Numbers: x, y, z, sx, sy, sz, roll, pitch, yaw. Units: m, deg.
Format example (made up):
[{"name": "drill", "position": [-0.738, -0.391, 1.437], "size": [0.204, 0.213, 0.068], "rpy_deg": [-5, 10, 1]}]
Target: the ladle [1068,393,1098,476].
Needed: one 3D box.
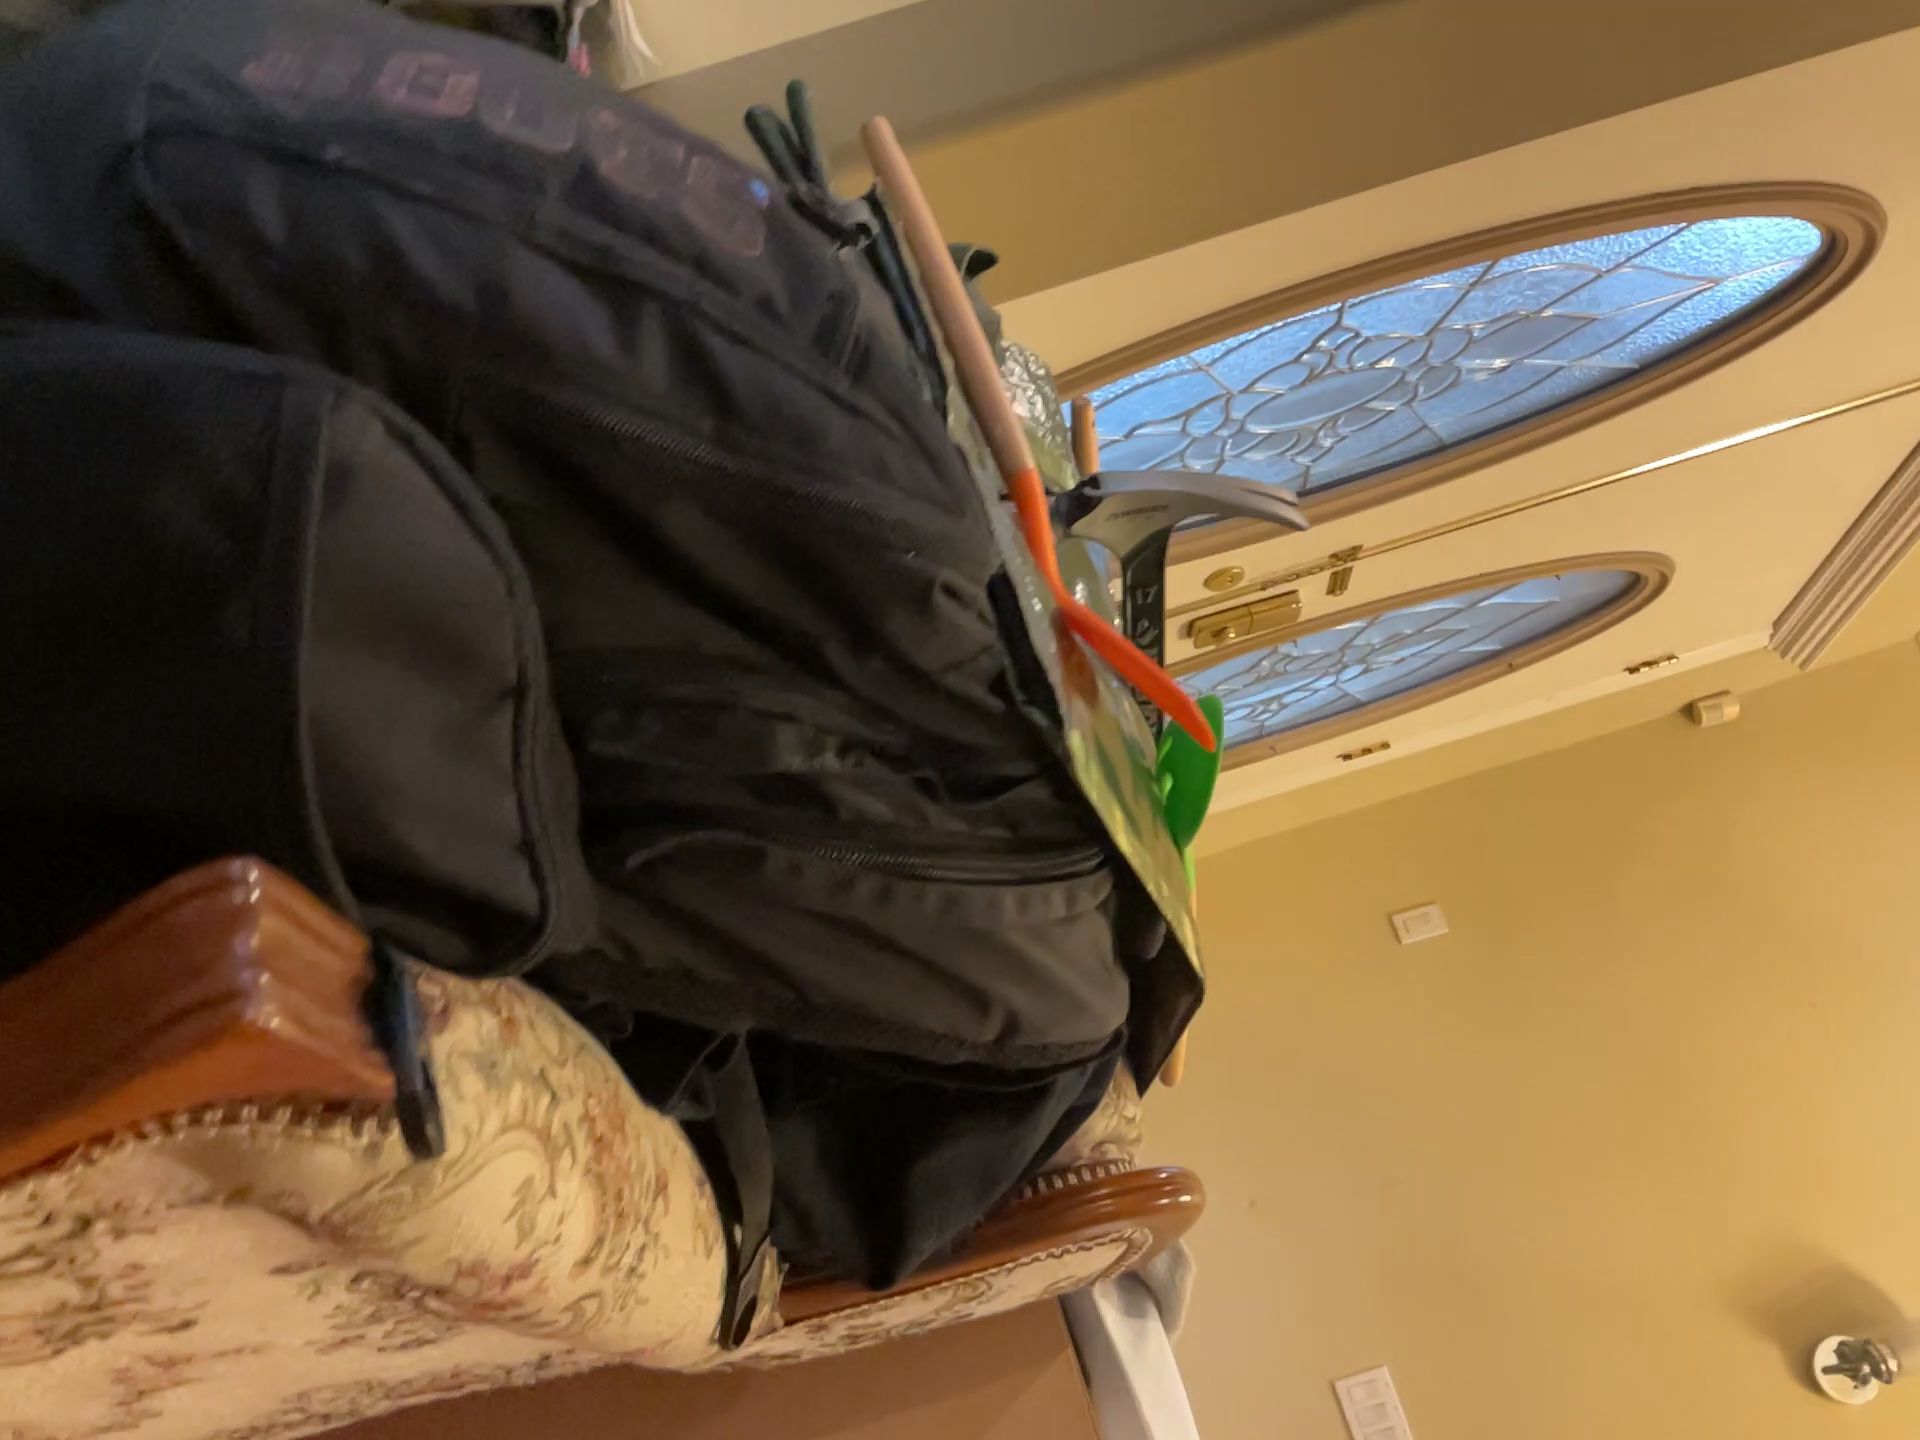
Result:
[{"name": "ladle", "position": [0.094, -0.065, 0.999], "size": [0.078, 0.062, 0.320], "rpy_deg": [-72, 162, -44]}]

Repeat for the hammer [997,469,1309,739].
[{"name": "hammer", "position": [0.107, 0.031, 0.882], "size": [0.036, 0.149, 0.408], "rpy_deg": [-96, 179, -46]}]

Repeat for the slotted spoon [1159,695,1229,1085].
[{"name": "slotted spoon", "position": [0.117, 0.107, 0.853], "size": [0.313, 0.031, 0.070], "rpy_deg": [86, 4, -45]}]

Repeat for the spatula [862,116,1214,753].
[{"name": "spatula", "position": [0.025, -0.128, 0.672], "size": [0.081, 0.041, 0.323], "rpy_deg": [48, 20, -73]}]
